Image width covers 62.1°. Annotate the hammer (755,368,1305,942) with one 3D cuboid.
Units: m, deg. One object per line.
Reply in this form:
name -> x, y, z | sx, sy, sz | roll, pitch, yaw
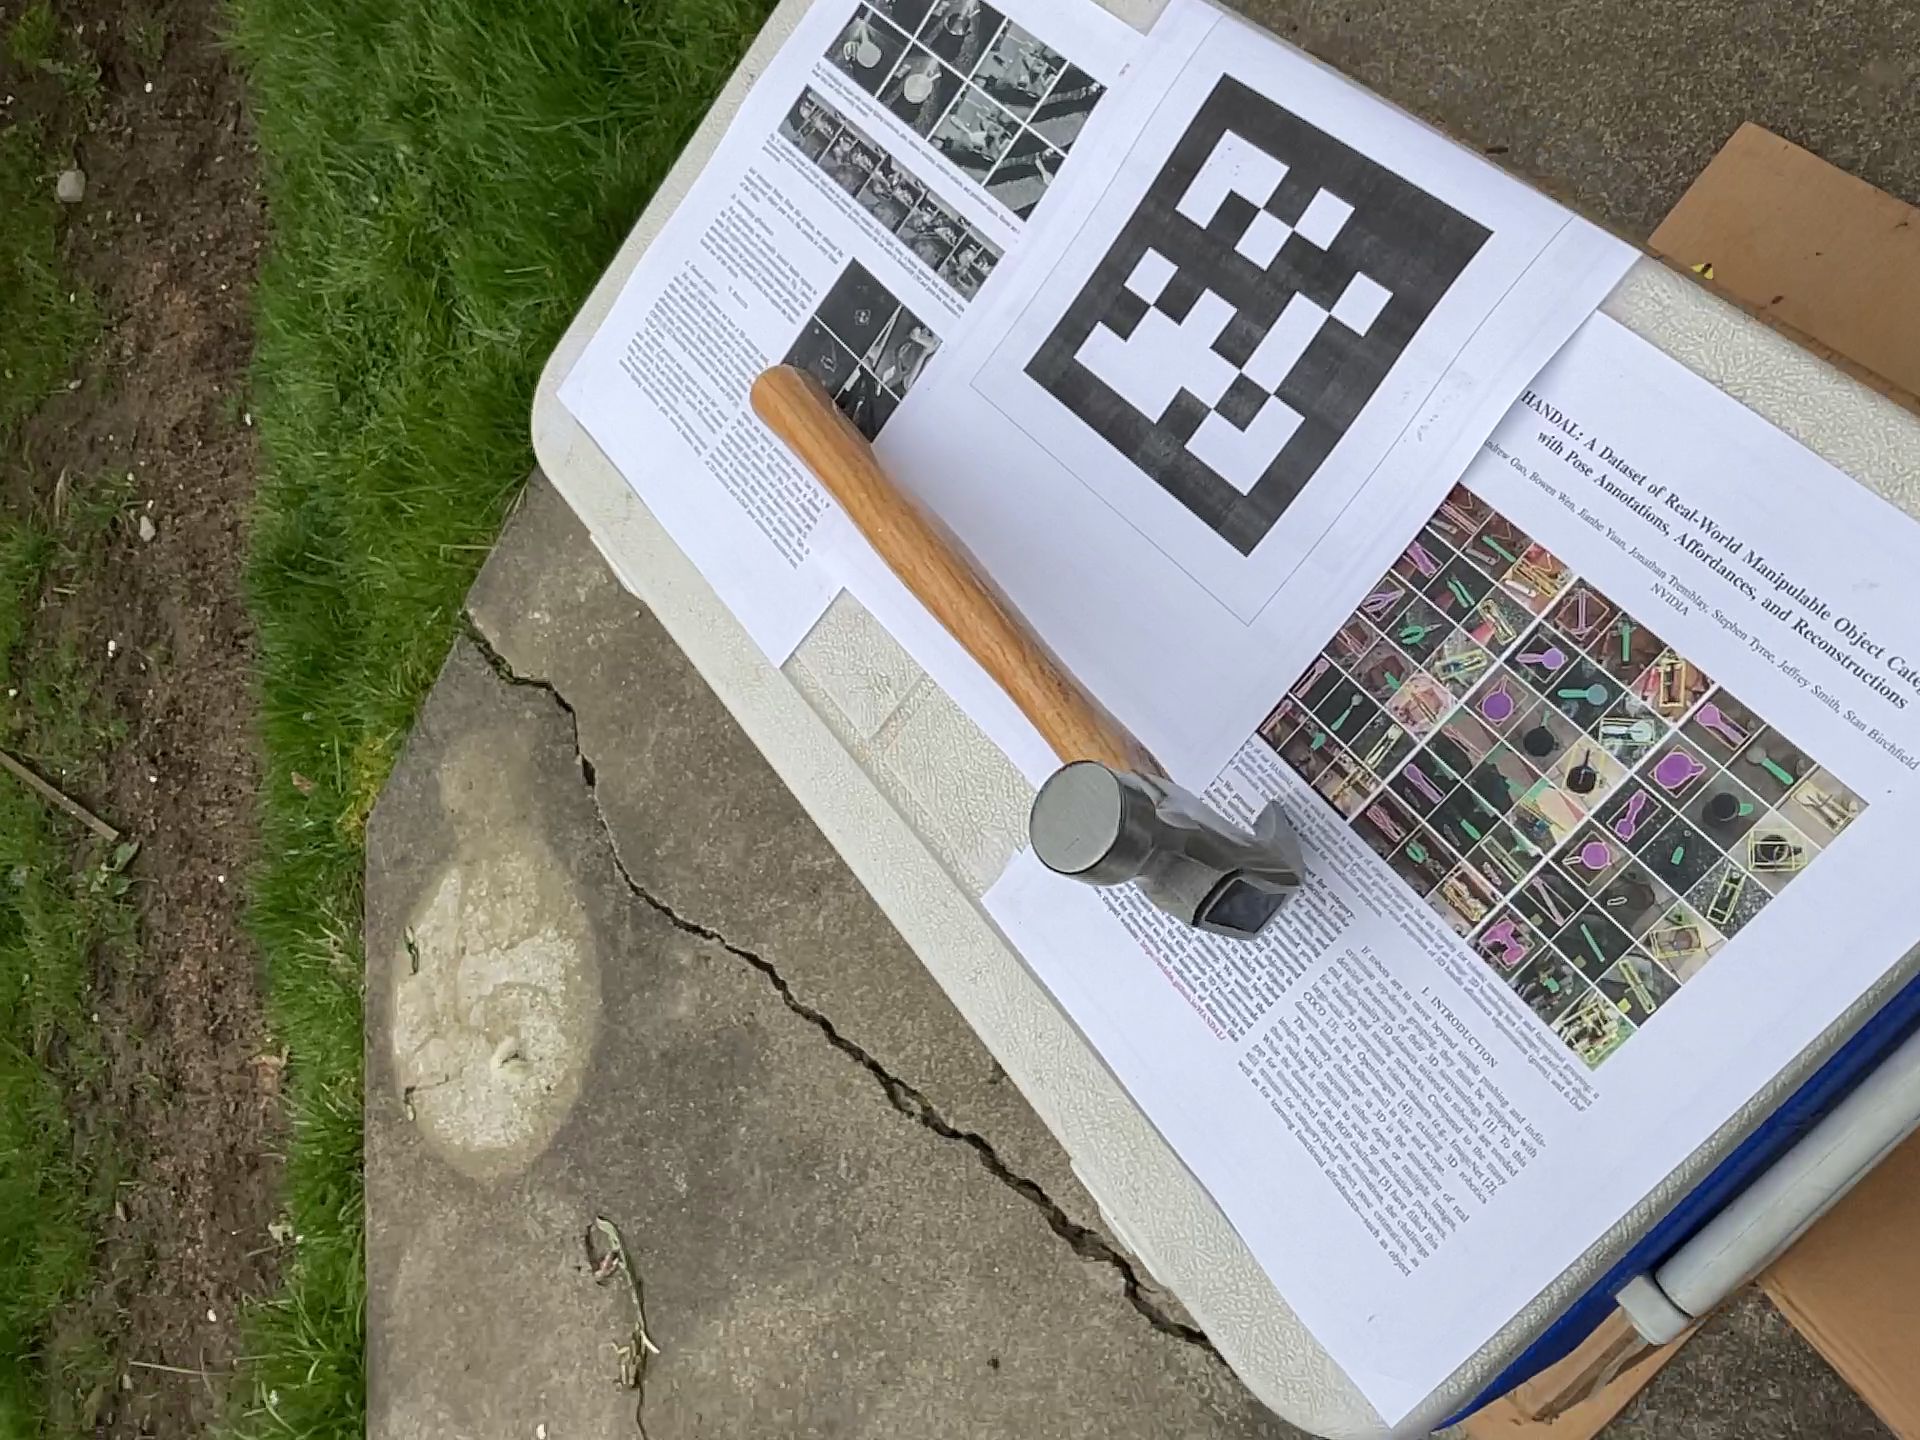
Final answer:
hammer -> 0.005, -0.040, 0.558 | 0.031, 0.129, 0.332 | -52, 45, 14
